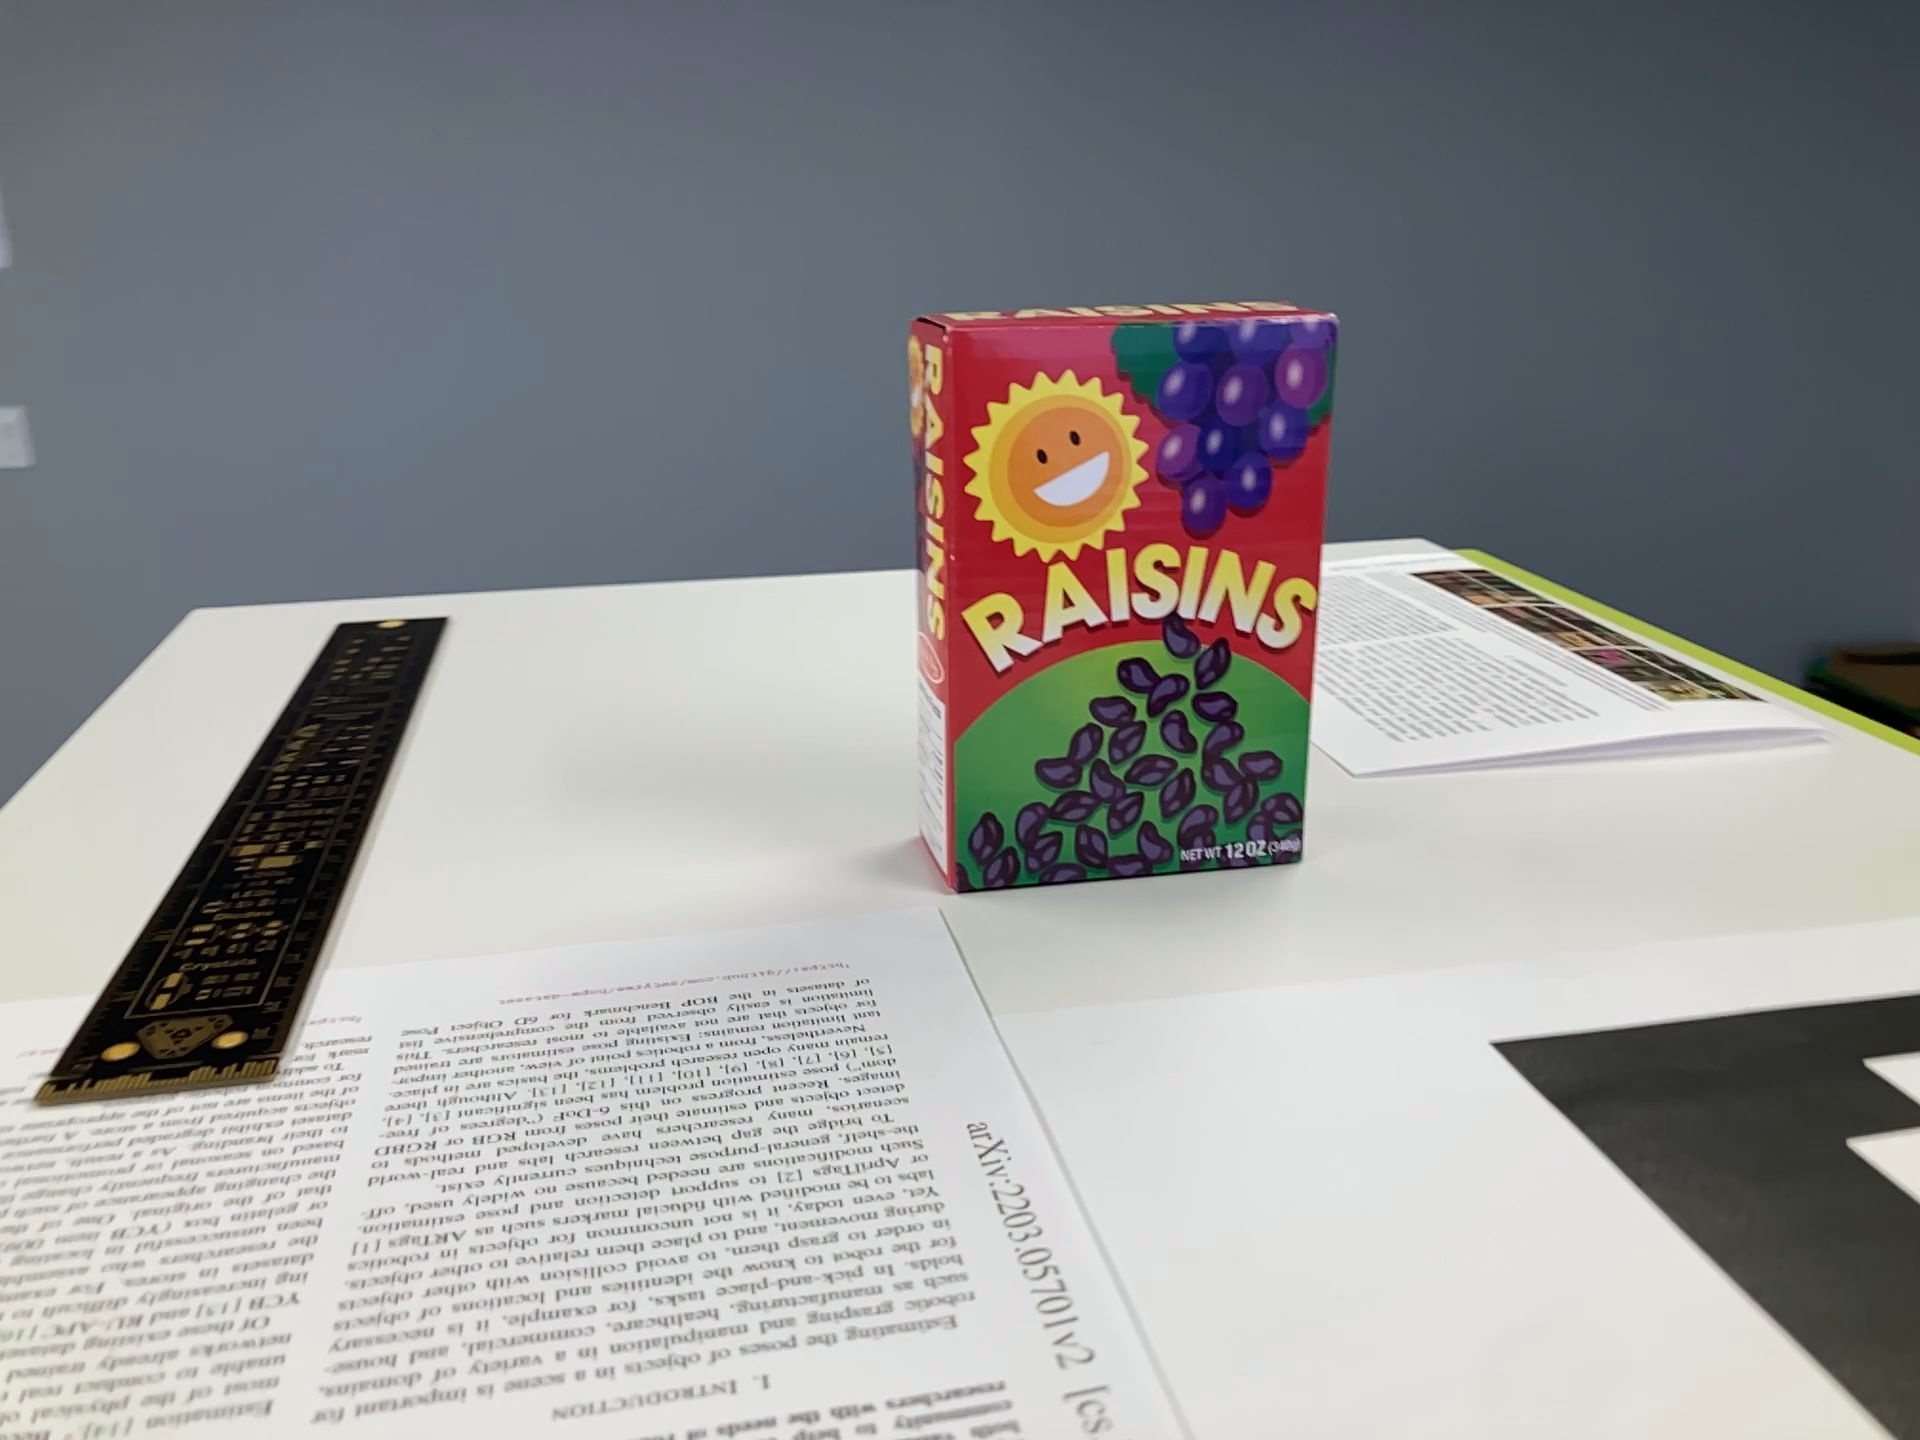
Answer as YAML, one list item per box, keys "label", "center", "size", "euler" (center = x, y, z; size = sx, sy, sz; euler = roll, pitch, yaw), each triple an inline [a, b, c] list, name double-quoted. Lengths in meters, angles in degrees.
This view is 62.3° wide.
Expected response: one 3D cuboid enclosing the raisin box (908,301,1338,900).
- label: "raisin box"
  center: [0.034, -0.027, 0.352]
  size: [0.086, 0.123, 0.040]
  euler: [-4, 19, -11]
